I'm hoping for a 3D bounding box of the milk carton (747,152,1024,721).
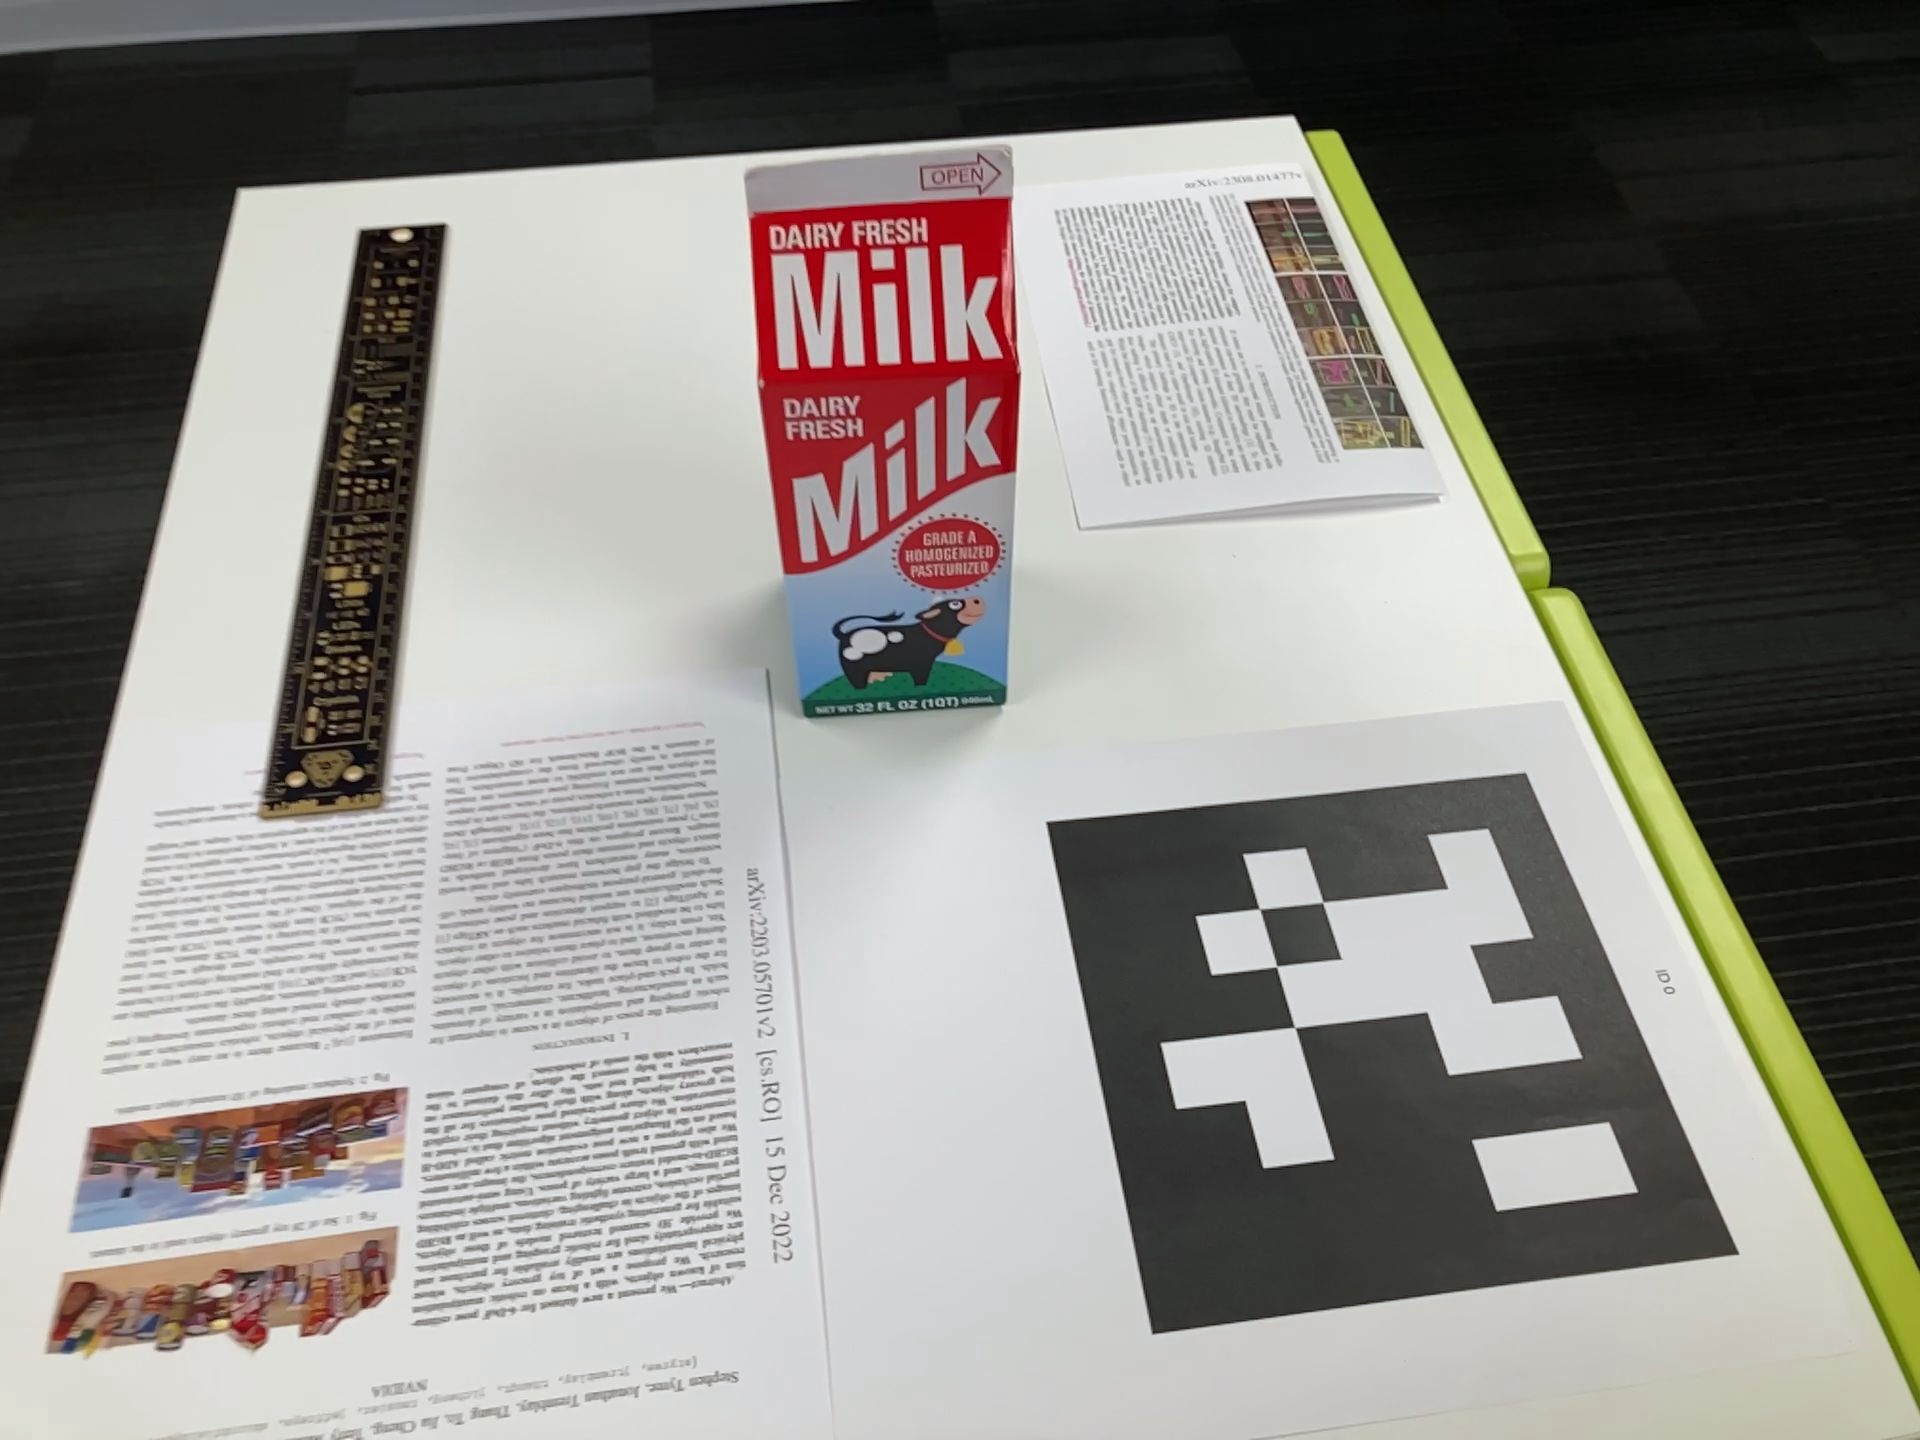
[{"bbox_3d":[-0.021,-0.086,0.481,0.072,0.190,0.073,-3,52,-2],"label":"milk carton"}]
